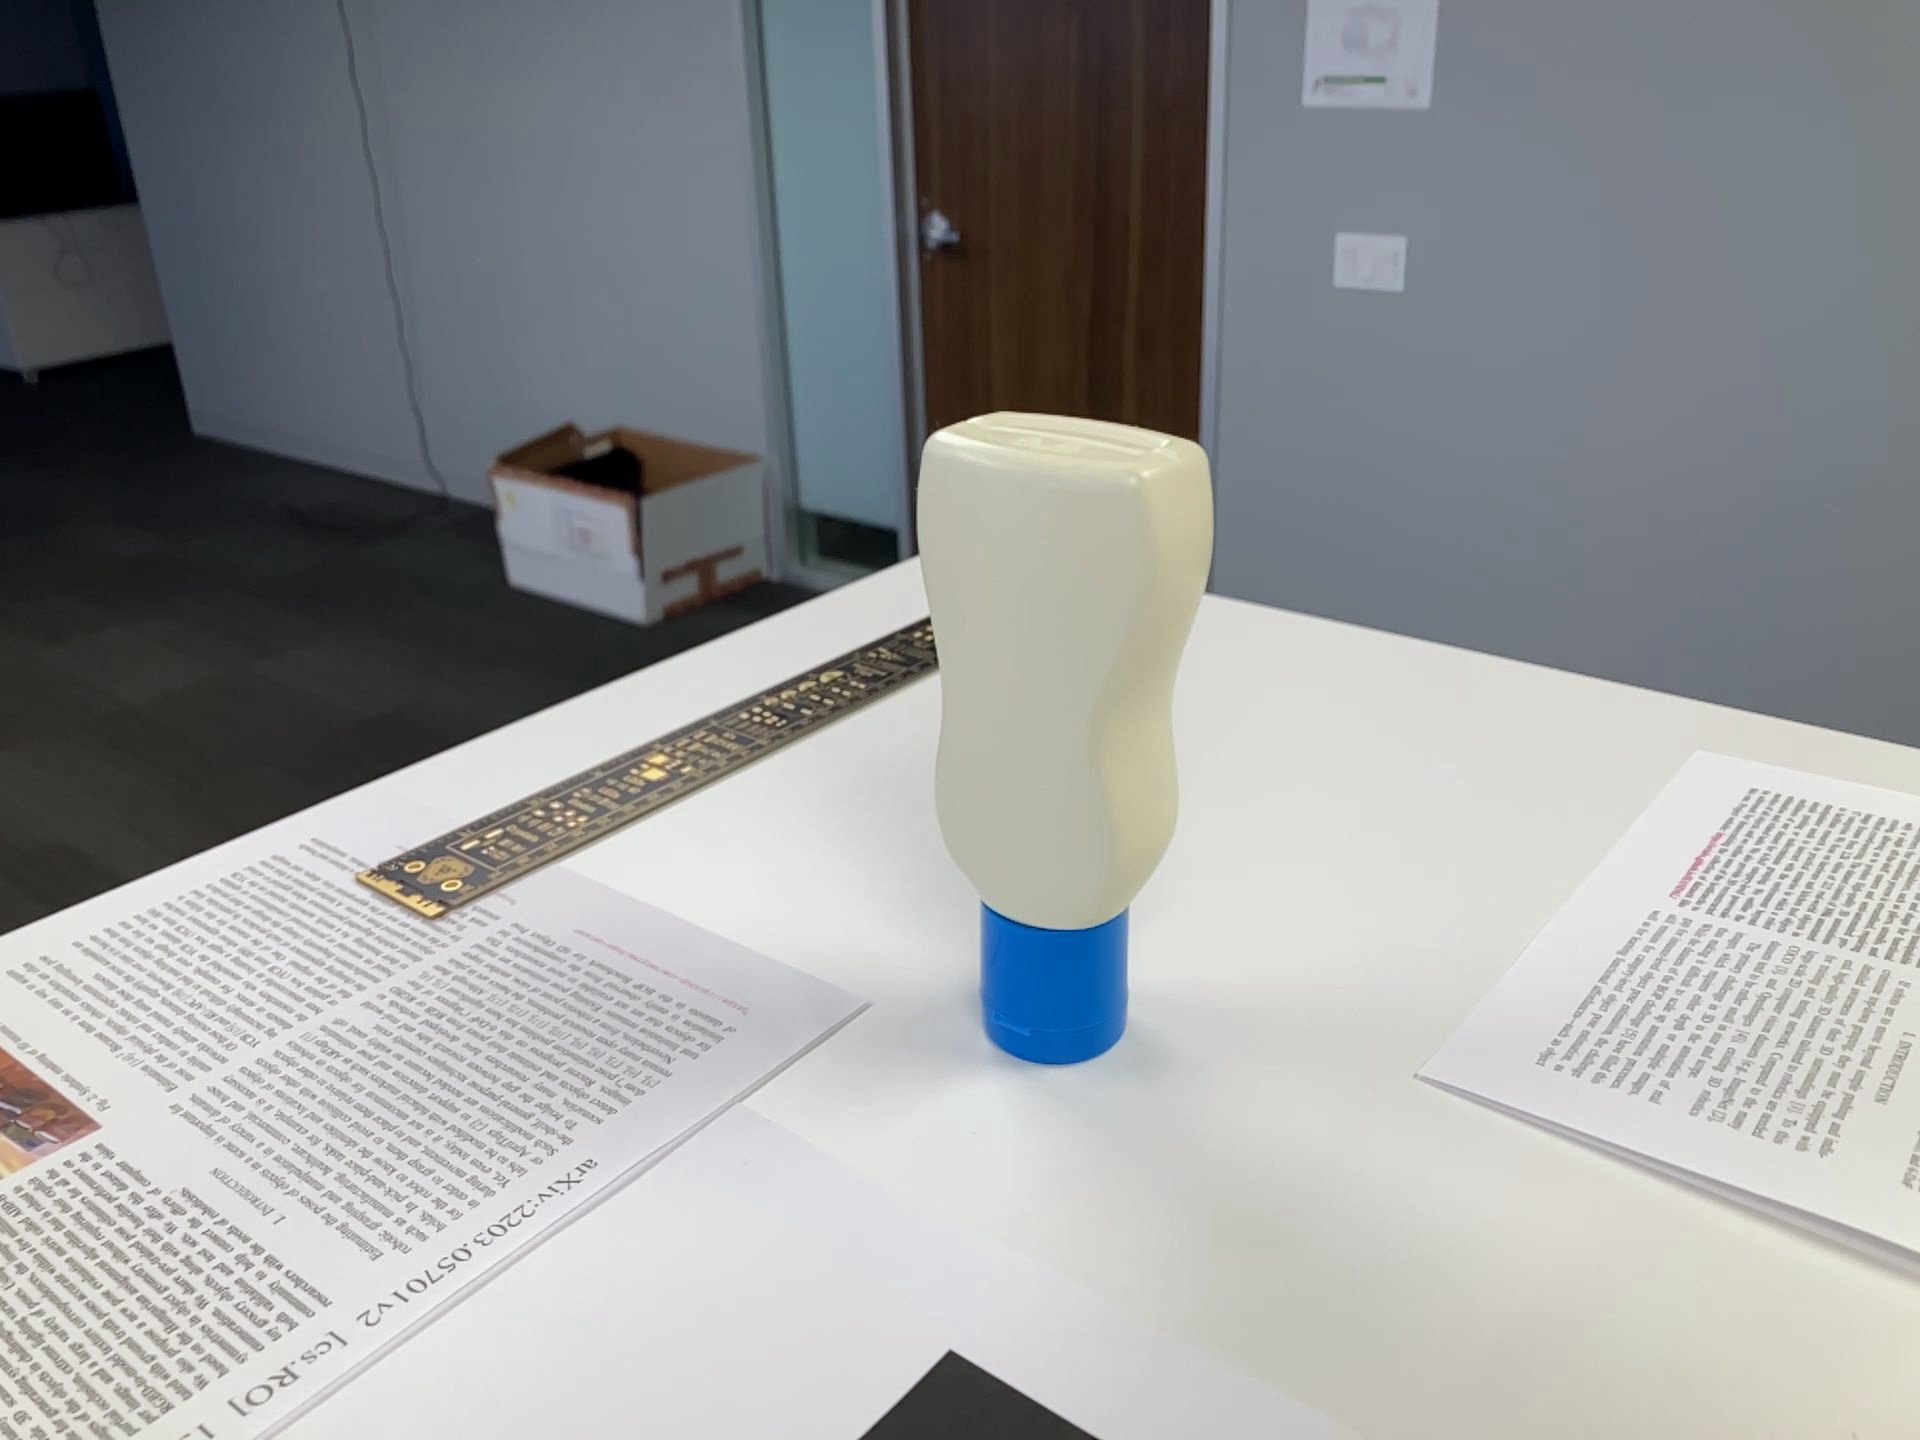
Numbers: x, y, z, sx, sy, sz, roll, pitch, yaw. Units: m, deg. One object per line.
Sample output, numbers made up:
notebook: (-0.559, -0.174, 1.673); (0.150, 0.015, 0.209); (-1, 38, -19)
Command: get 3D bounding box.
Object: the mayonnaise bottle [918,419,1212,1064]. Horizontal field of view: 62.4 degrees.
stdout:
mayonnaise bottle: (0.023, 0.008, 0.368); (0.065, 0.148, 0.041); (17, 29, 34)
